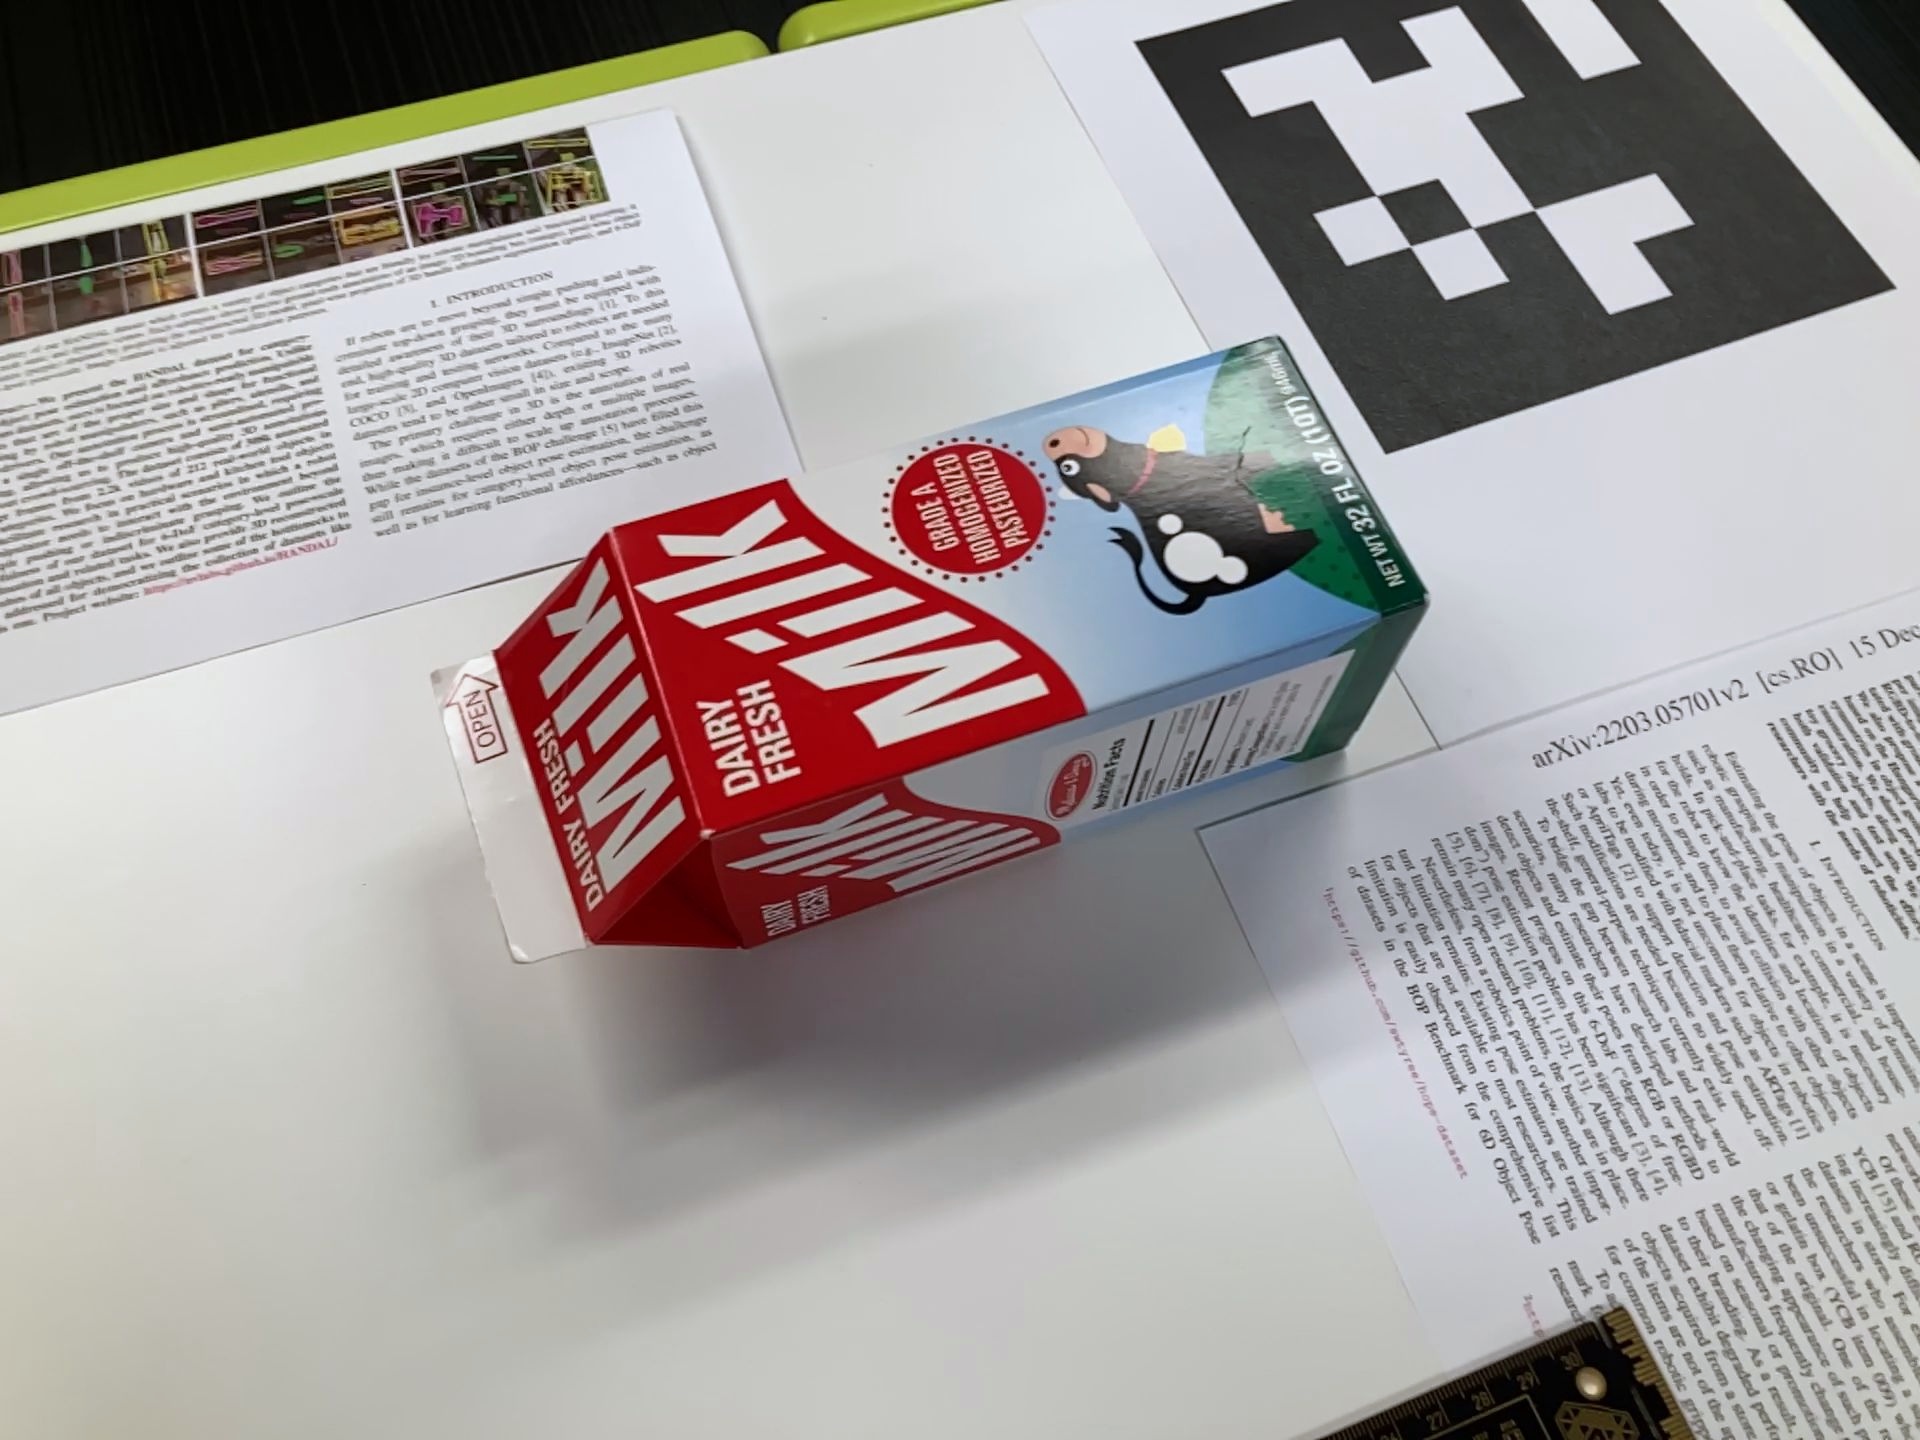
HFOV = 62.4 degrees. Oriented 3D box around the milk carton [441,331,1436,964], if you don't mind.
[{"bbox_3d":[-0.008,-0.010,0.337,0.190,0.073,0.072,-18,67,-10],"label":"milk carton"}]
